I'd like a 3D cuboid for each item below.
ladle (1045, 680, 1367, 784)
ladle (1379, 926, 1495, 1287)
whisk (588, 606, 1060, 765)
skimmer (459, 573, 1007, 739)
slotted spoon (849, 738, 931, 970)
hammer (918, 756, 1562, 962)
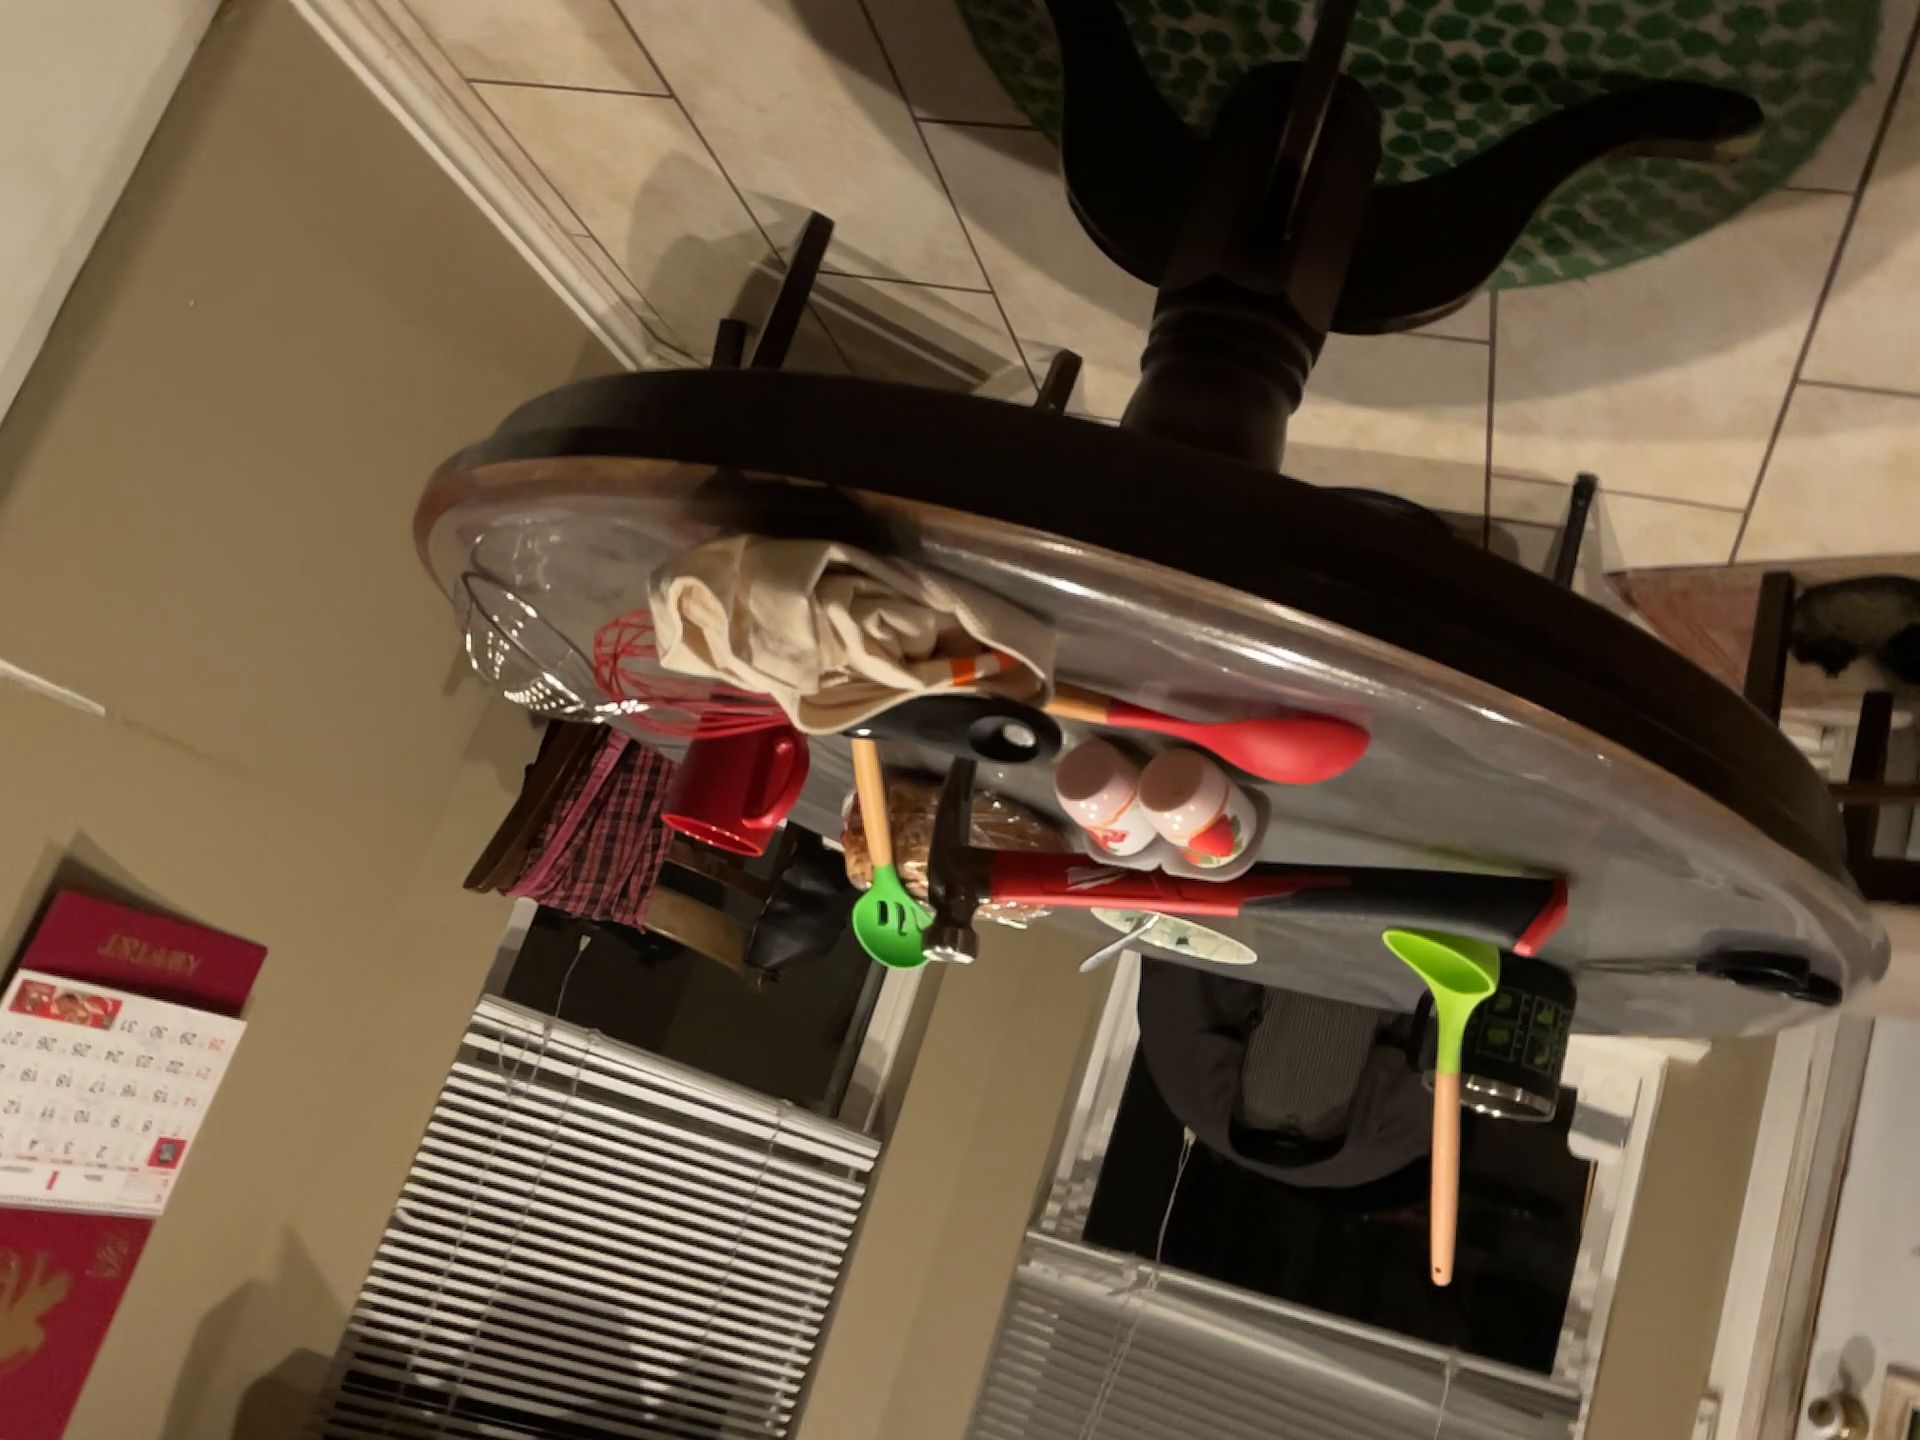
[{"bbox_3d":[0.057,-0.013,0.842,0.316,0.031,0.069,15,165,25],"label":"ladle"},{"bbox_3d":[0.325,0.267,1.087,0.062,0.320,0.078,-23,-151,-36],"label":"ladle"},{"bbox_3d":[-0.081,-0.013,0.816,0.296,0.073,0.073,10,162,30],"label":"whisk"},{"bbox_3d":[-0.145,-0.039,0.993,0.363,0.090,0.127,4,170,15],"label":"skimmer"},{"bbox_3d":[-0.057,0.083,1.129,0.070,0.031,0.313,11,142,13],"label":"slotted spoon"},{"bbox_3d":[0.164,0.087,0.974,0.386,0.143,0.038,1,161,20],"label":"hammer"}]
